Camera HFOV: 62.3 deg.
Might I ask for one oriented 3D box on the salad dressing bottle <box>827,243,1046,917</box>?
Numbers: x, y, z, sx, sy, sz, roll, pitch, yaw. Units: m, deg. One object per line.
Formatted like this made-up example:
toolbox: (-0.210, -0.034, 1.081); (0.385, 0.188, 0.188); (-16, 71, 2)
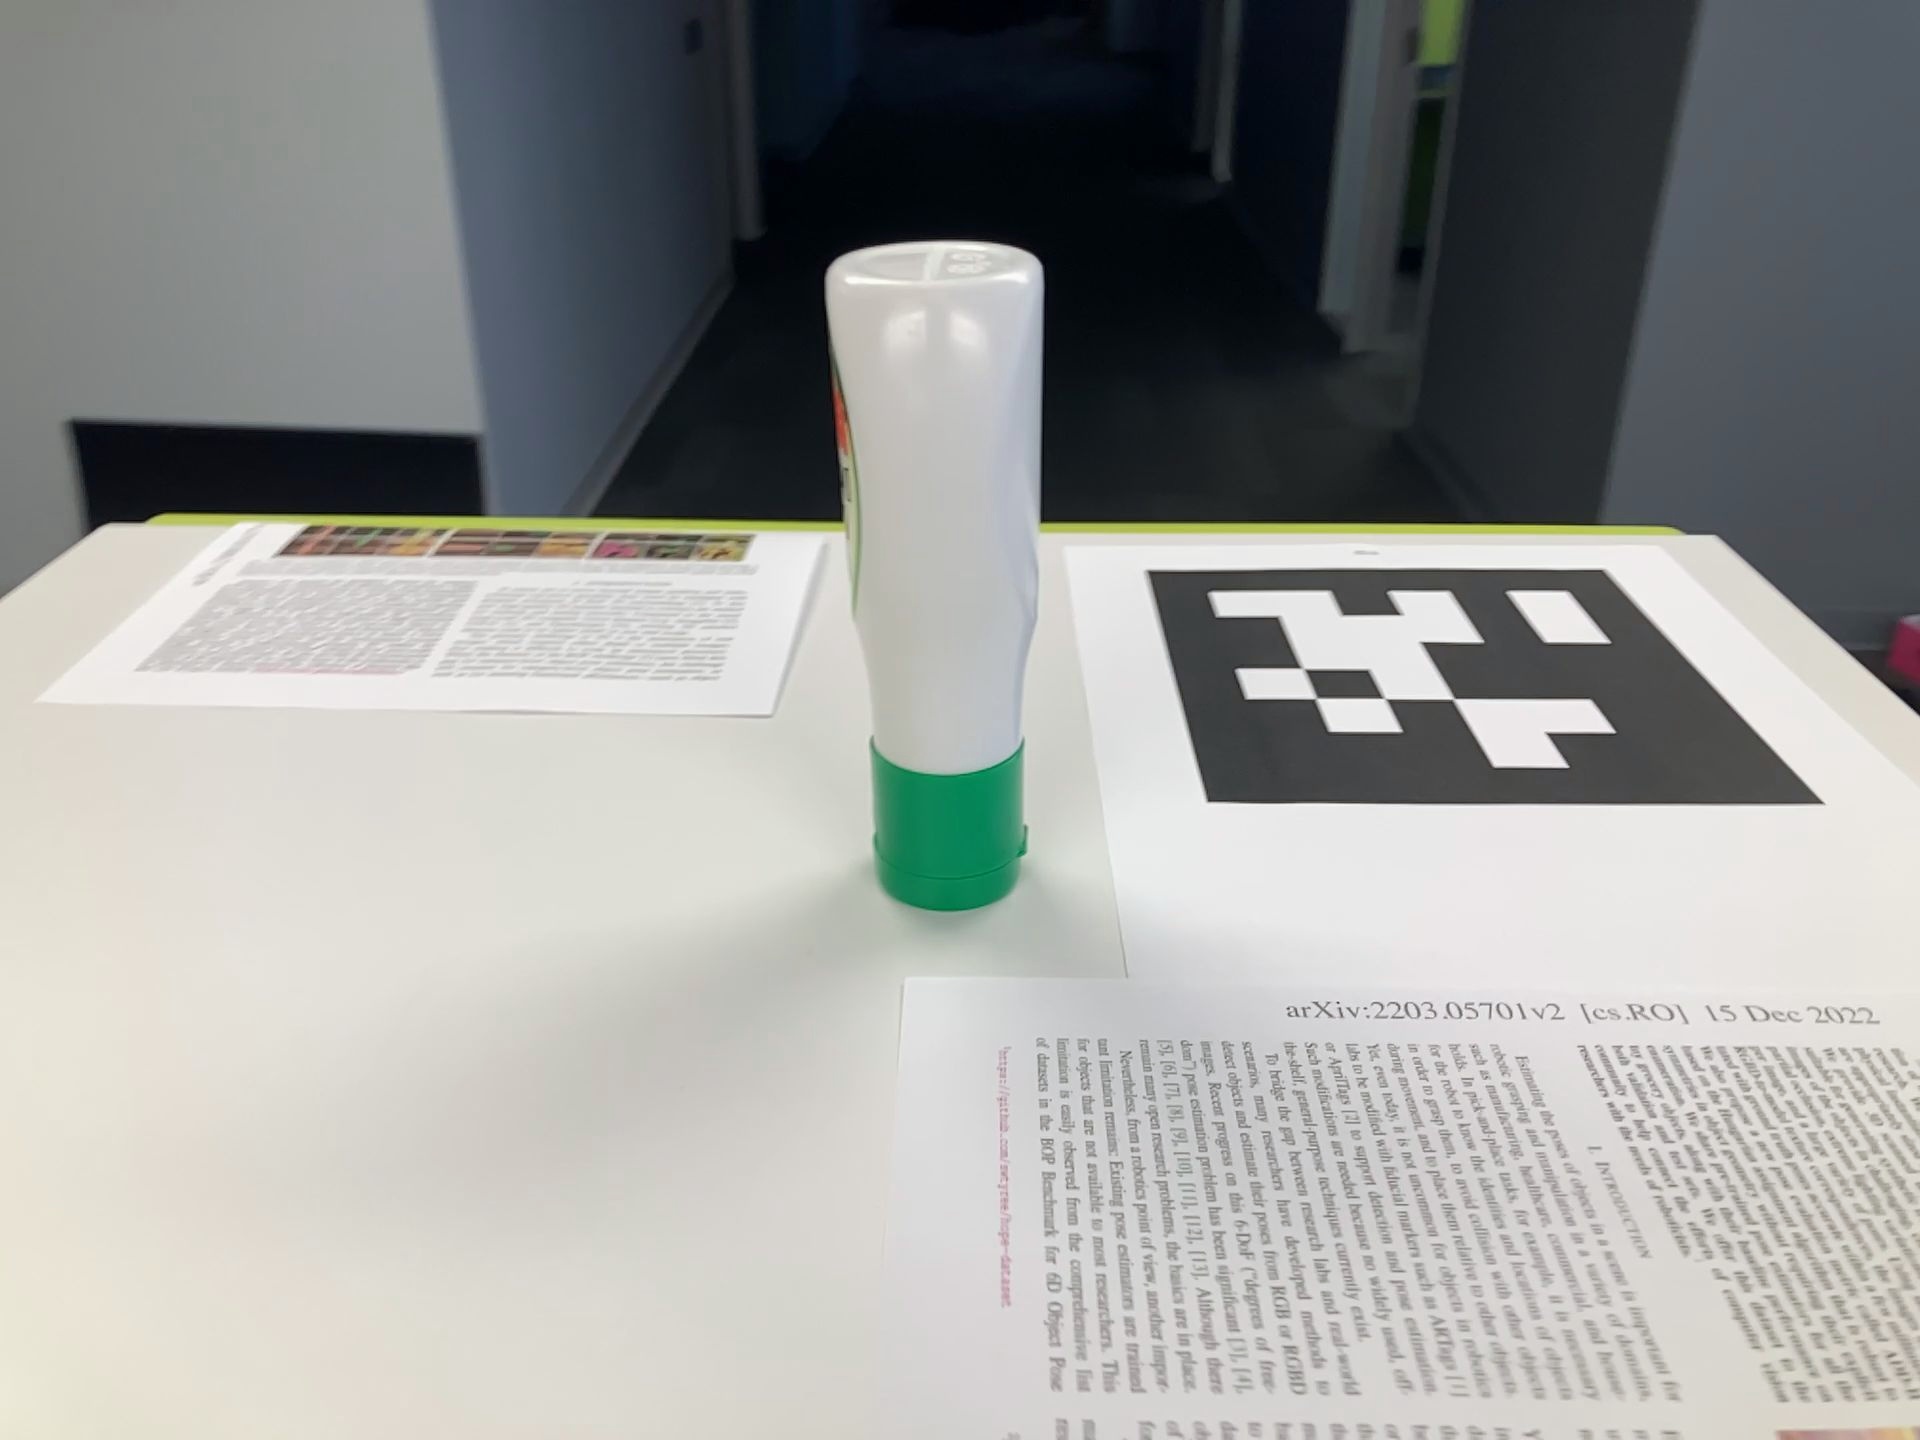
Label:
salad dressing bottle: (-0.004, -0.027, 0.352); (0.044, 0.147, 0.064); (0, 27, 3)
